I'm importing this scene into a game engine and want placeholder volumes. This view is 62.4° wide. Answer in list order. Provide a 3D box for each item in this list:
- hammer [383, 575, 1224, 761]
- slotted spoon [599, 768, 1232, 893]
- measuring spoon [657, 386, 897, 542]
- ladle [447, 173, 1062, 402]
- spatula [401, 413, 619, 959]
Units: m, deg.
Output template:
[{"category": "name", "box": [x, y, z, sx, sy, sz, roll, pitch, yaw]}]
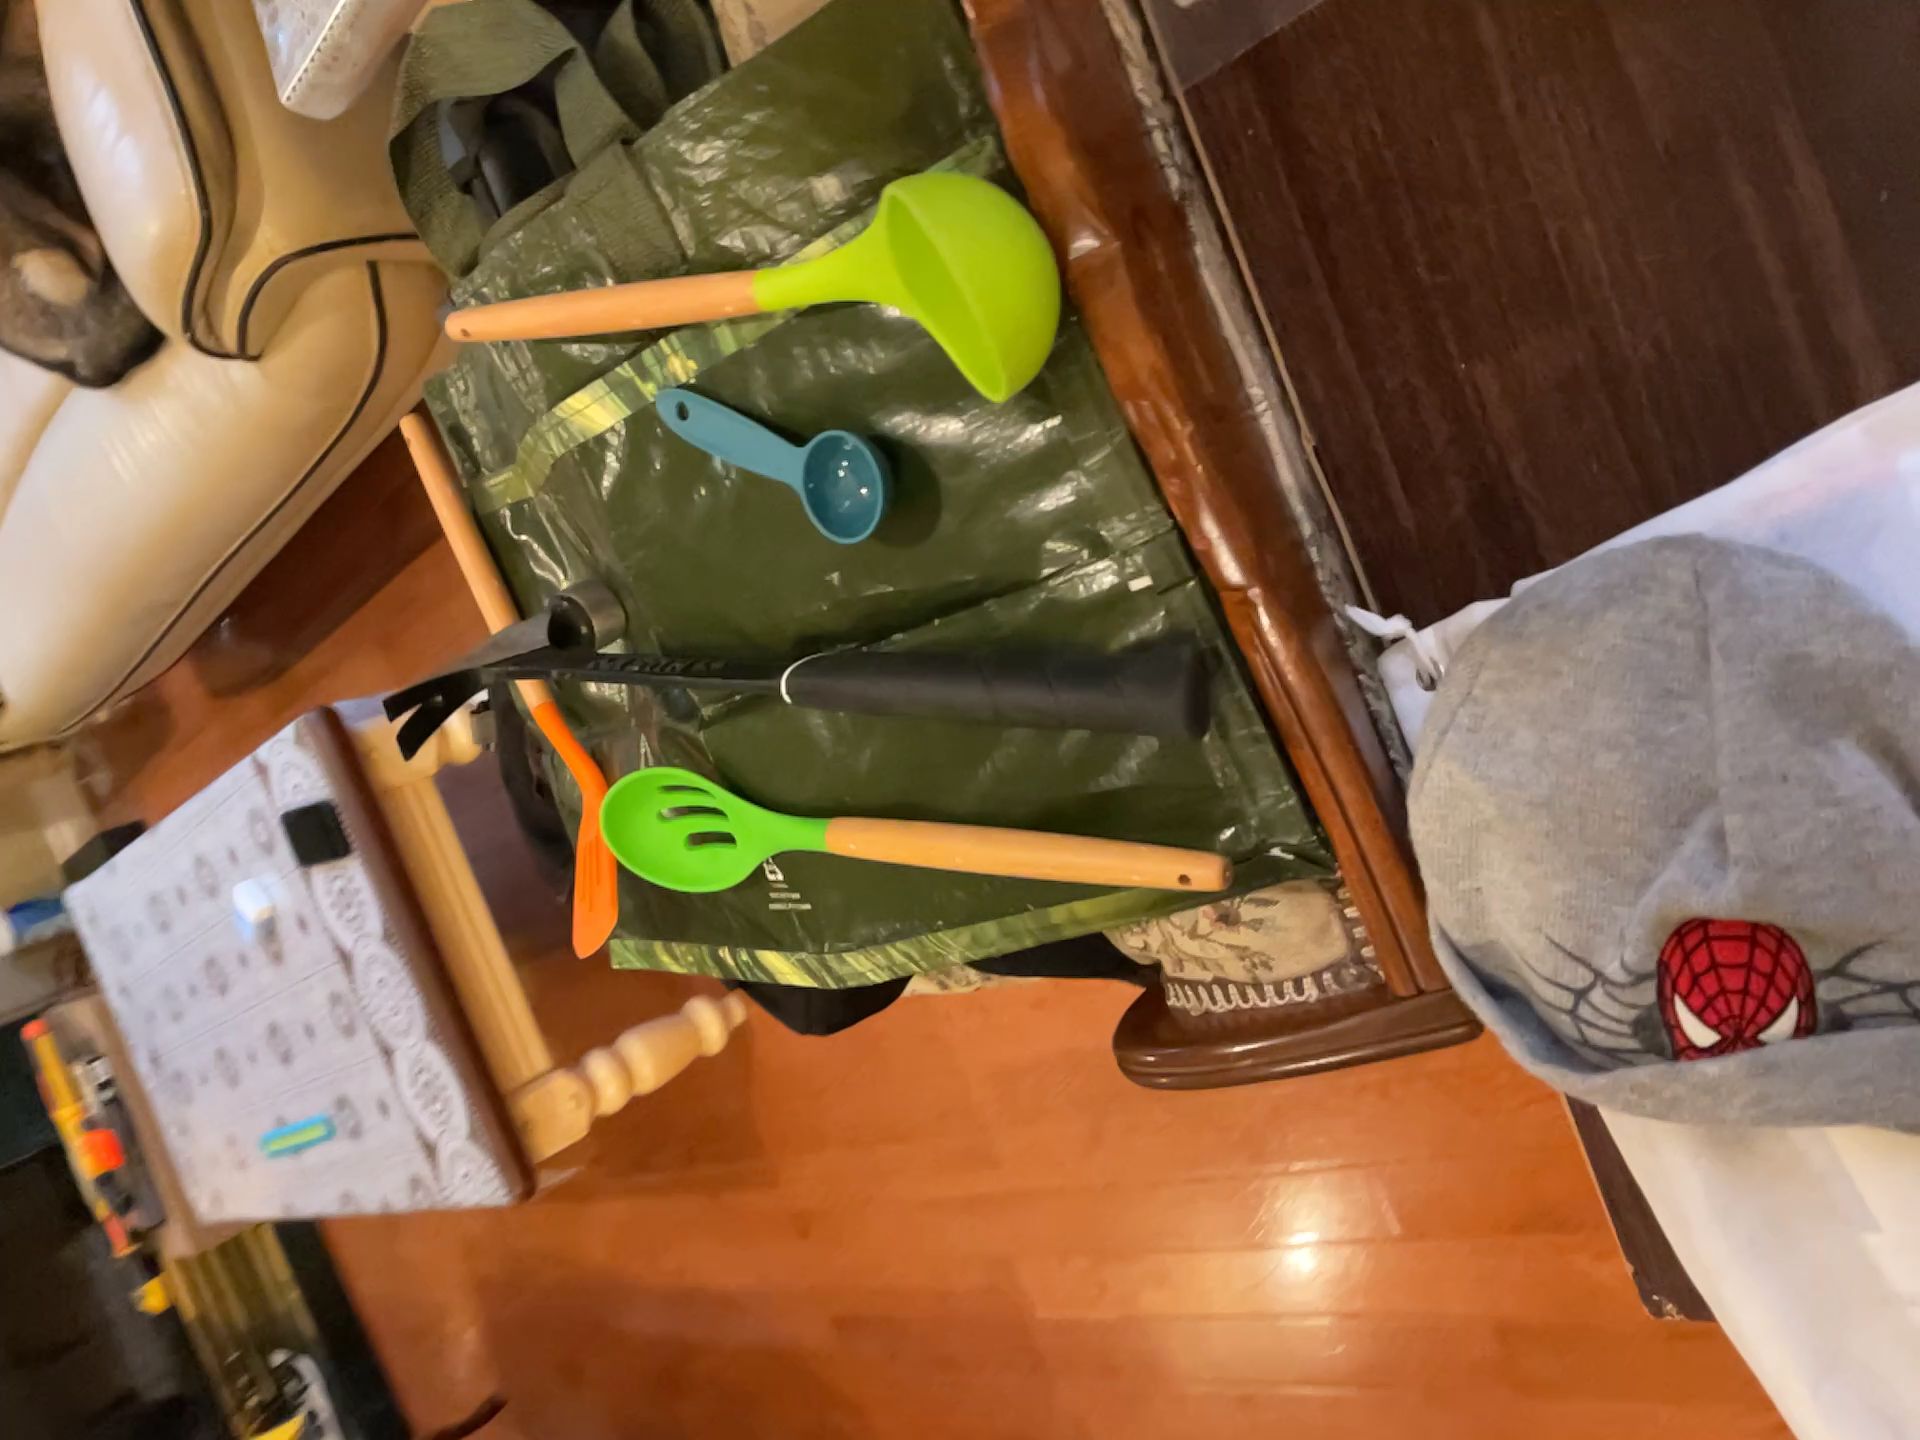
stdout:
[{"category": "hammer", "box": [-0.076, -0.018, 0.662, 0.409, 0.149, 0.036, 4, 118, 37]}, {"category": "slotted spoon", "box": [-0.031, 0.052, 0.667, 0.314, 0.031, 0.070, 1, 123, 35]}, {"category": "measuring spoon", "box": [-0.070, -0.107, 0.619, 0.129, 0.021, 0.042, 29, 123, 32]}, {"category": "ladle", "box": [-0.098, -0.153, 0.598, 0.320, 0.062, 0.078, 5, 136, 36]}, {"category": "spatula", "box": [-0.249, -0.027, 0.876, 0.081, 0.041, 0.323, -38, 76, 54]}]
